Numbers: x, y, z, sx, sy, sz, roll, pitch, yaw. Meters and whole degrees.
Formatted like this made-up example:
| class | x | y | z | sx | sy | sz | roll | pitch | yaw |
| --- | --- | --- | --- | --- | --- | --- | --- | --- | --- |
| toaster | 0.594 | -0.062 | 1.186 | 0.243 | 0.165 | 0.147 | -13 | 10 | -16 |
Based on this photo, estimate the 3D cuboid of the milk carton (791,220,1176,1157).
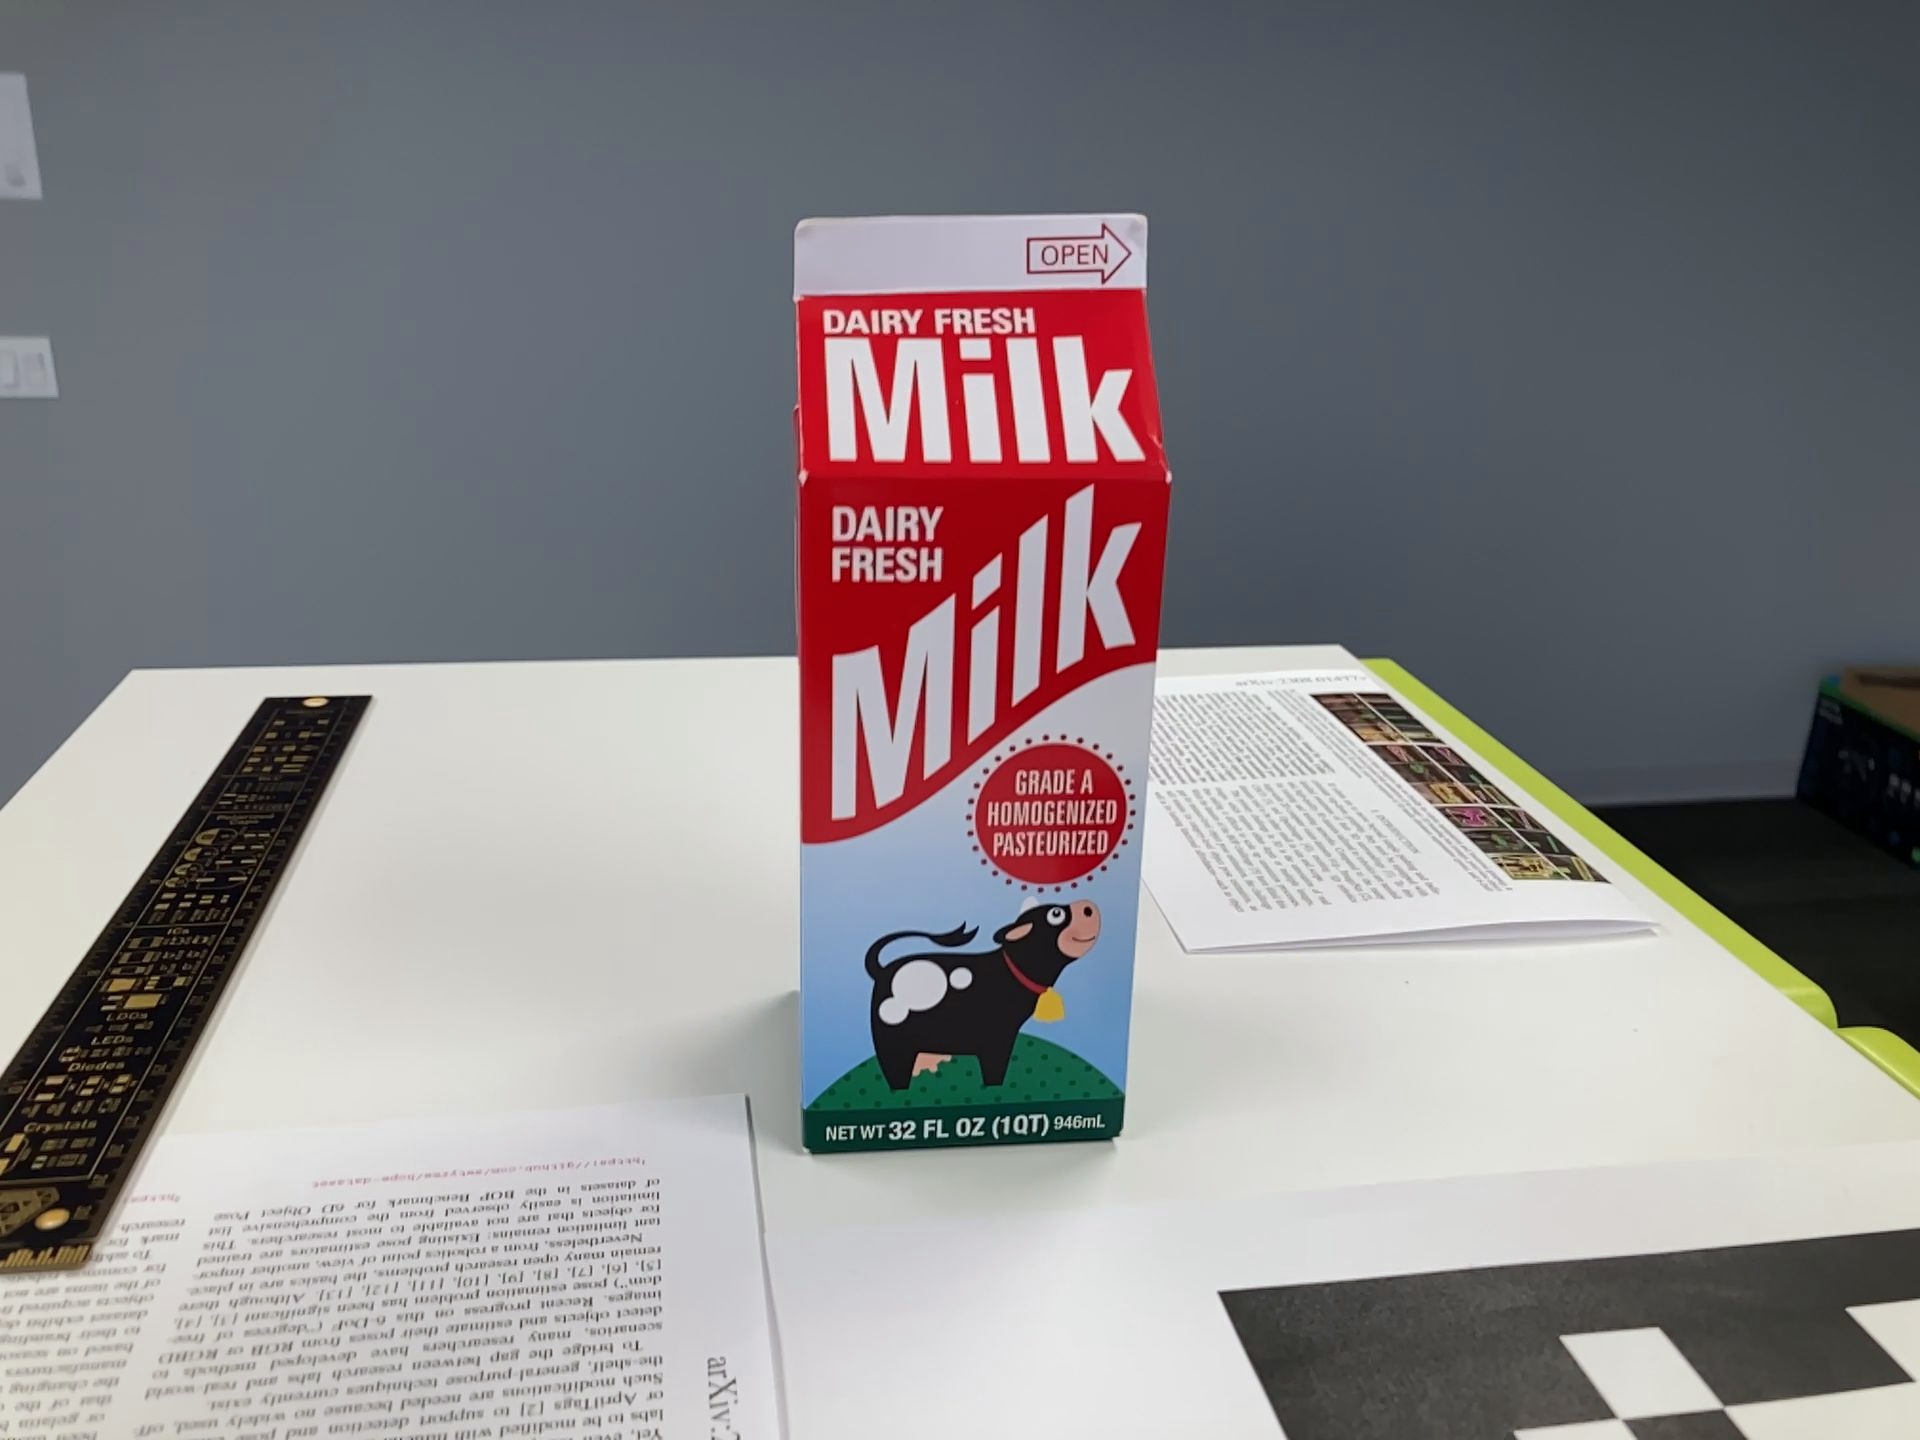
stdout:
| class | x | y | z | sx | sy | sz | roll | pitch | yaw |
| --- | --- | --- | --- | --- | --- | --- | --- | --- | --- |
| milk carton | 0.000 | -0.008 | 0.341 | 0.072 | 0.190 | 0.073 | -1 | 21 | -6 |
